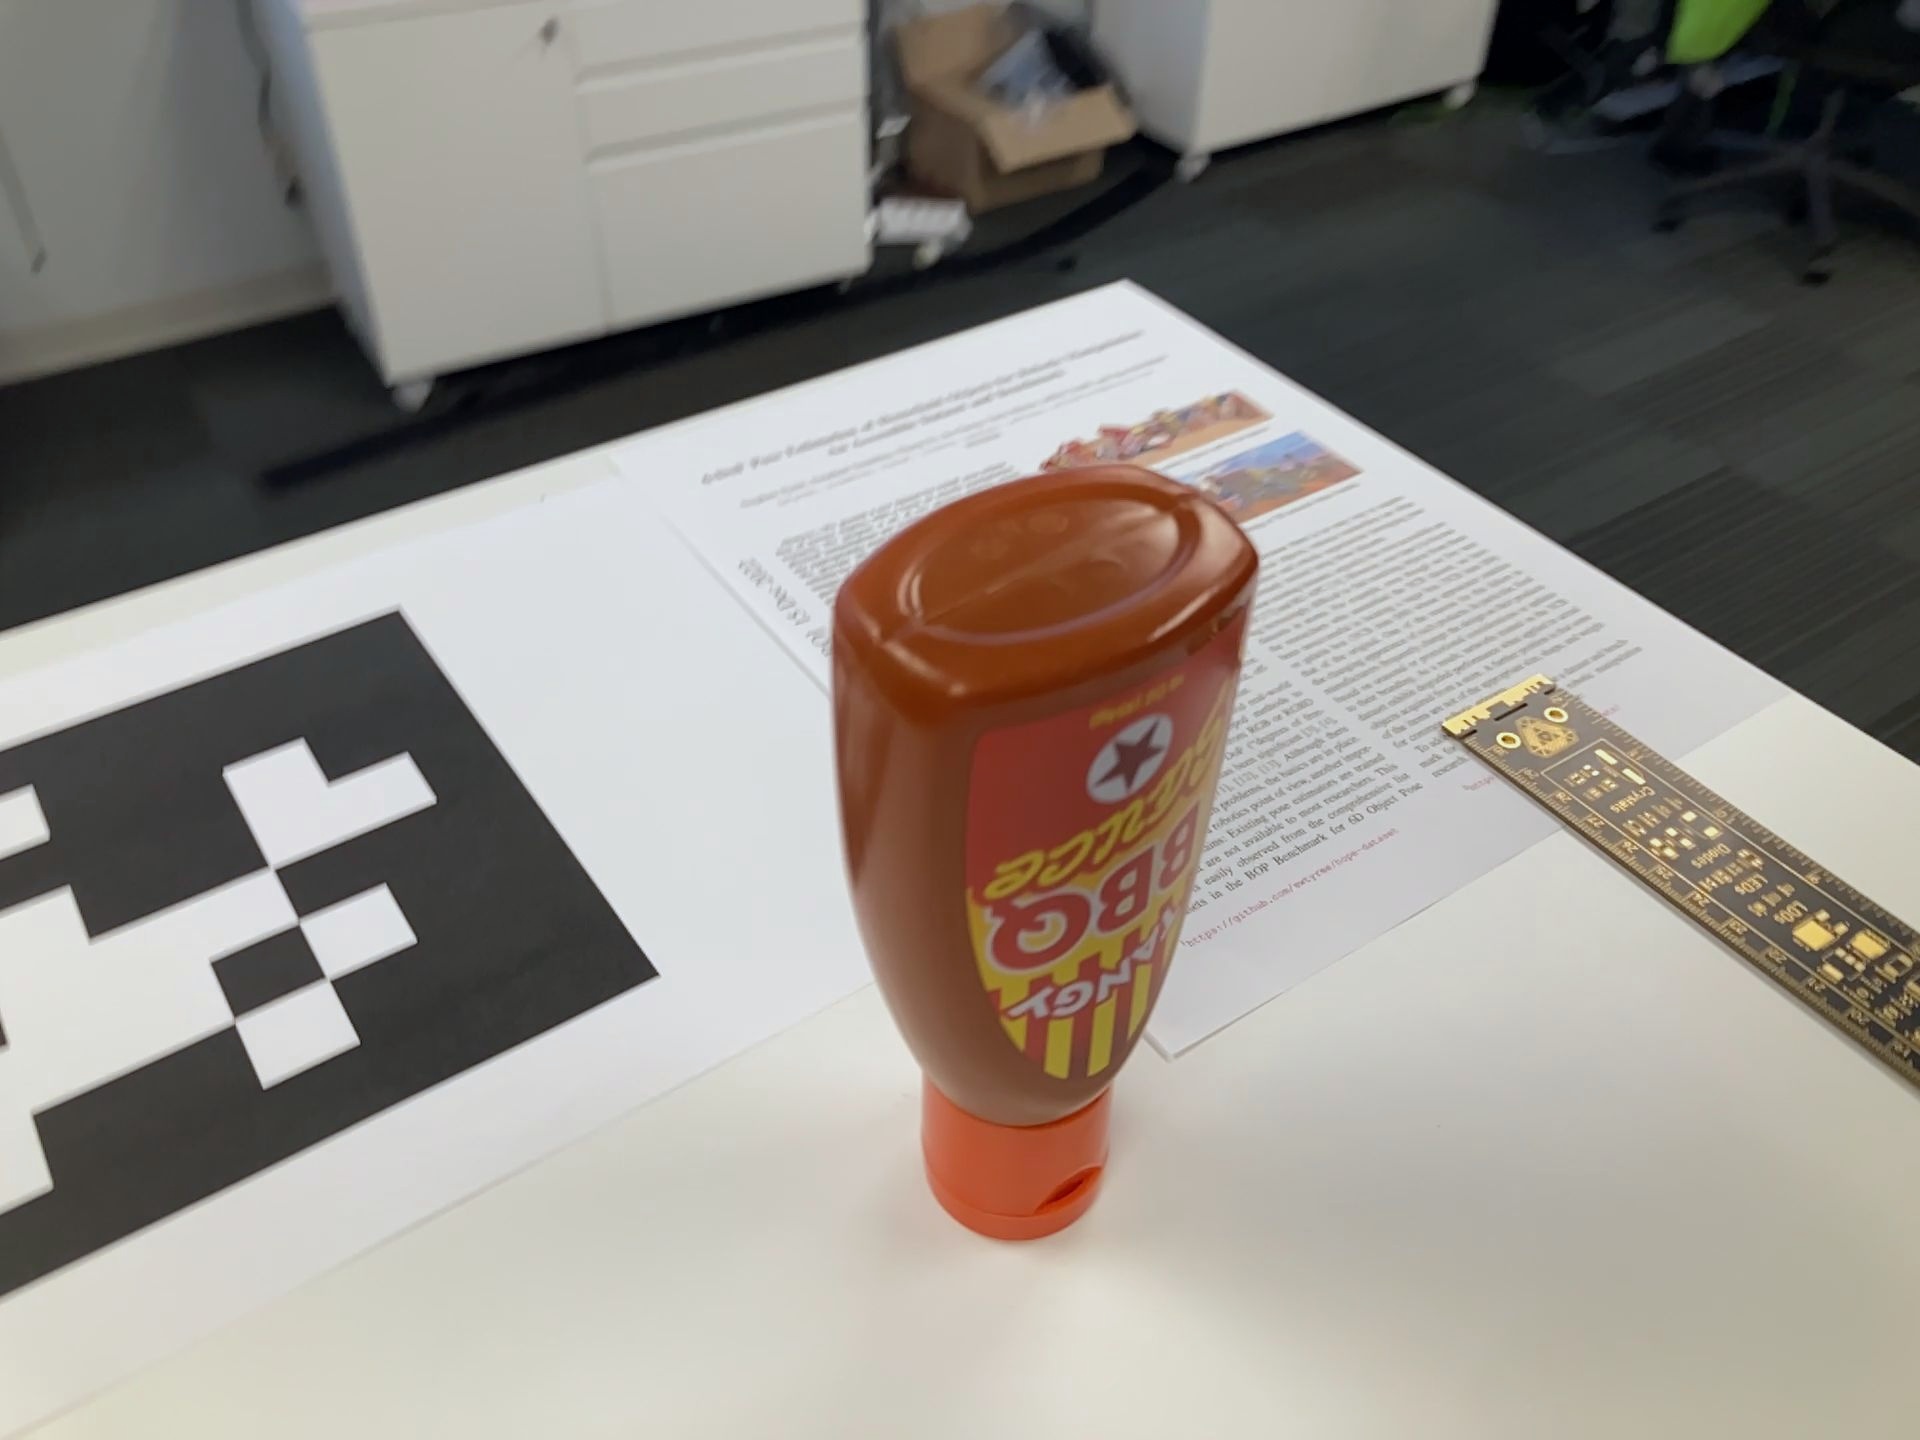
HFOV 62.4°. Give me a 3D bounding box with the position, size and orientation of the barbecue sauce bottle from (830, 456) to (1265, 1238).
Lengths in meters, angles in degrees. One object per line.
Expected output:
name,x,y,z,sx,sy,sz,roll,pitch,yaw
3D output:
barbecue sauce bottle,0.012,0.032,0.267,0.065,0.148,0.043,-25,48,-27
